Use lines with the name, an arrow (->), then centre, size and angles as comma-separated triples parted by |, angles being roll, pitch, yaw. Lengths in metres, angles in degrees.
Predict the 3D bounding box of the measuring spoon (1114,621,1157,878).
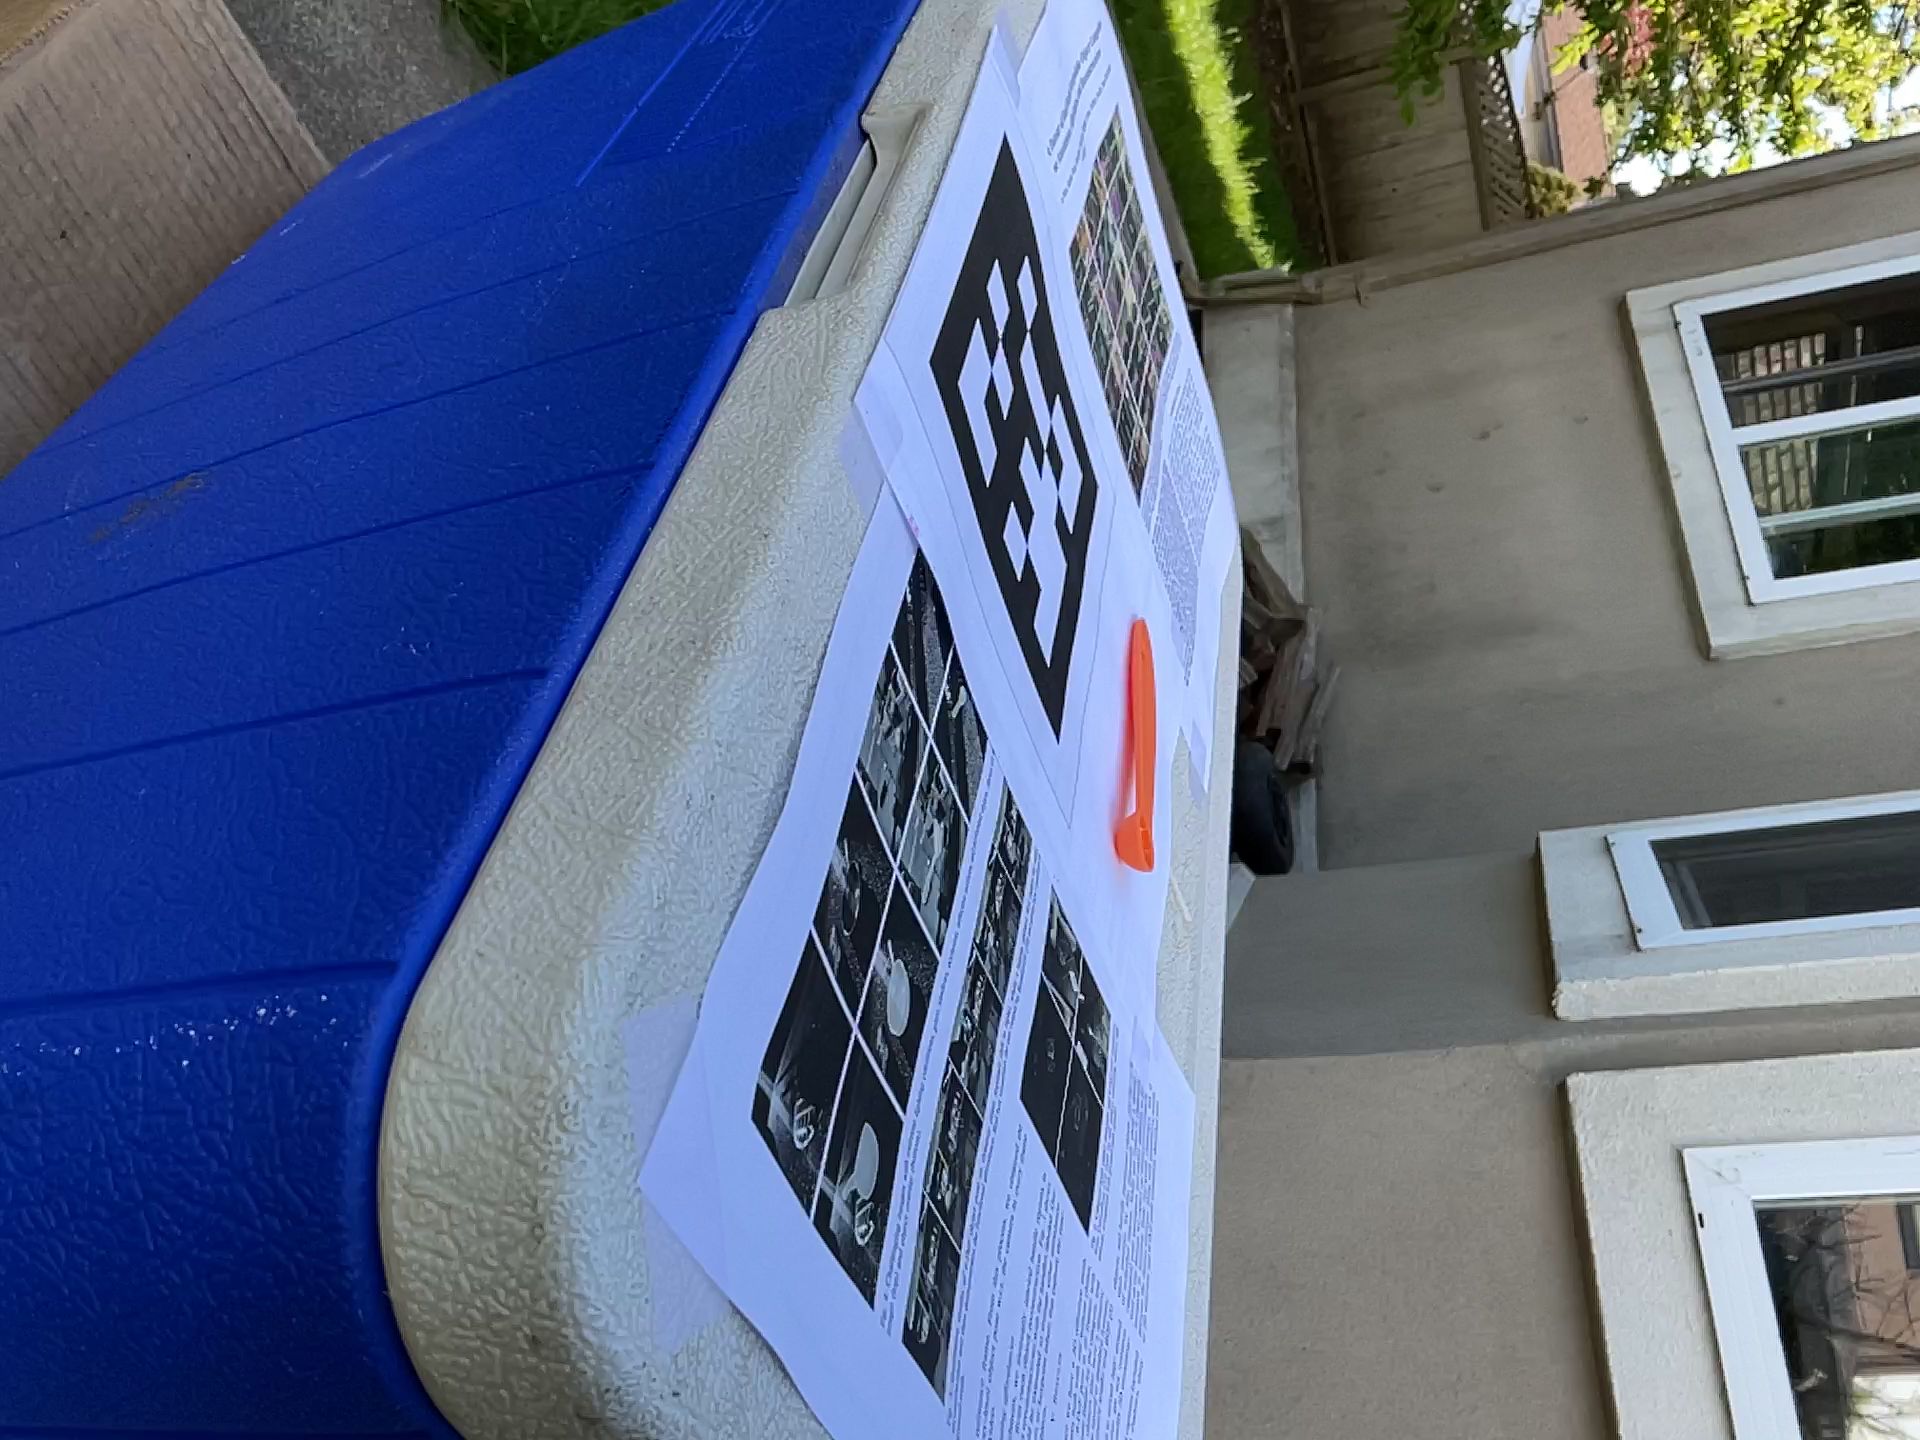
measuring spoon -> 0.058, 0.007, 0.537 | 0.117, 0.011, 0.021 | -83, 156, -46
